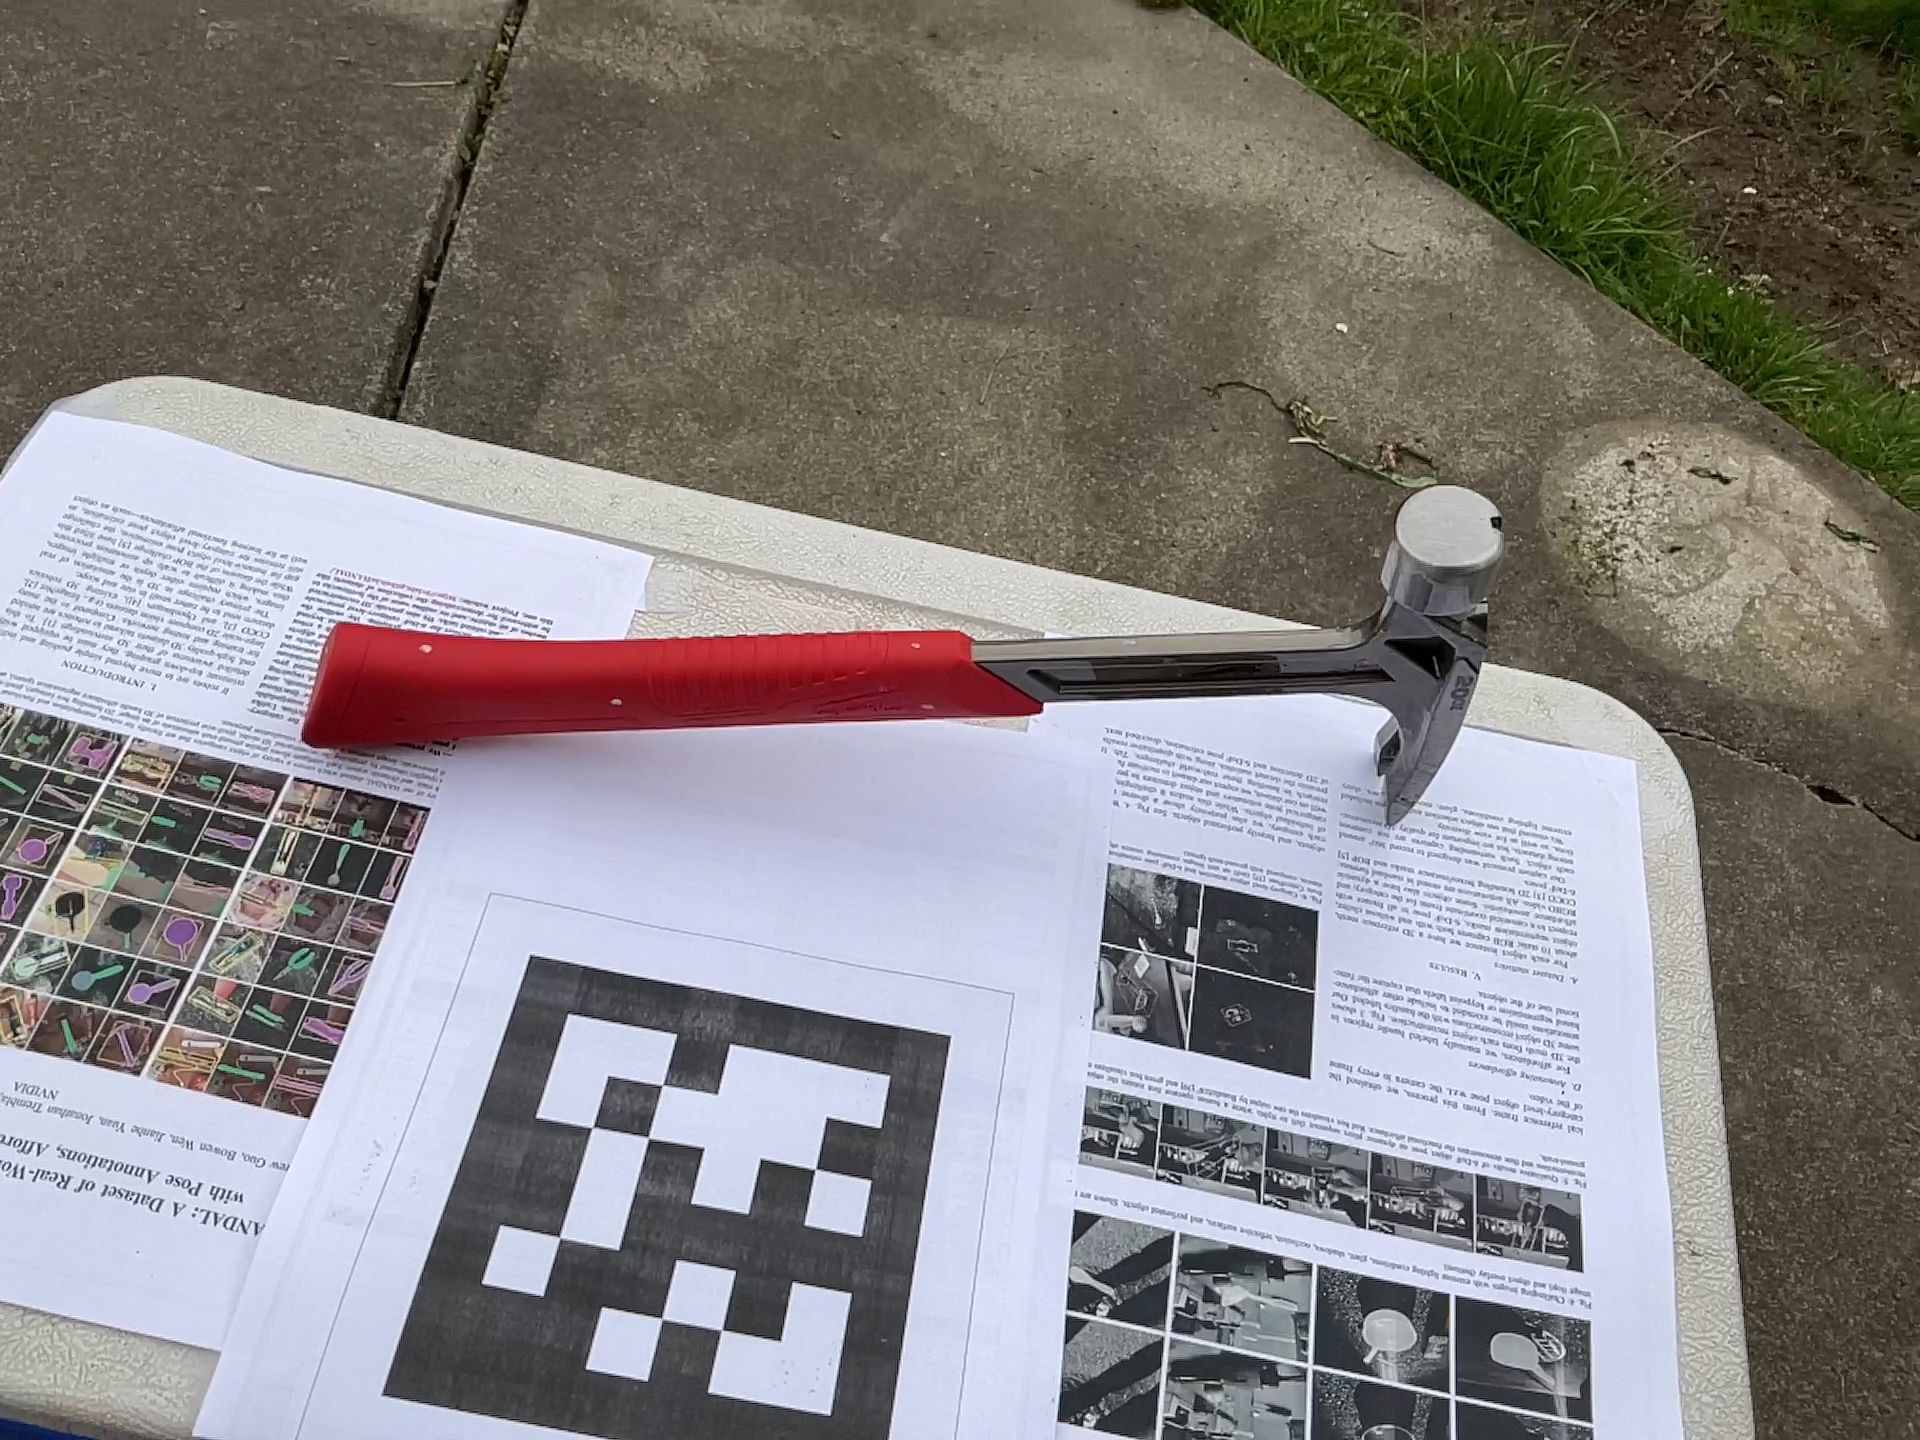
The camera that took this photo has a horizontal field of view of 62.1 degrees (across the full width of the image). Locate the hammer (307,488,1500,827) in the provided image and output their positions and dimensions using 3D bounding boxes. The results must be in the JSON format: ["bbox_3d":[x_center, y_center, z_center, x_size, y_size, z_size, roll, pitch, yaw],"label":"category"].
[{"bbox_3d":[-0.023,-0.008,0.506,0.359,0.149,0.037,-2,58,3],"label":"hammer"}]
